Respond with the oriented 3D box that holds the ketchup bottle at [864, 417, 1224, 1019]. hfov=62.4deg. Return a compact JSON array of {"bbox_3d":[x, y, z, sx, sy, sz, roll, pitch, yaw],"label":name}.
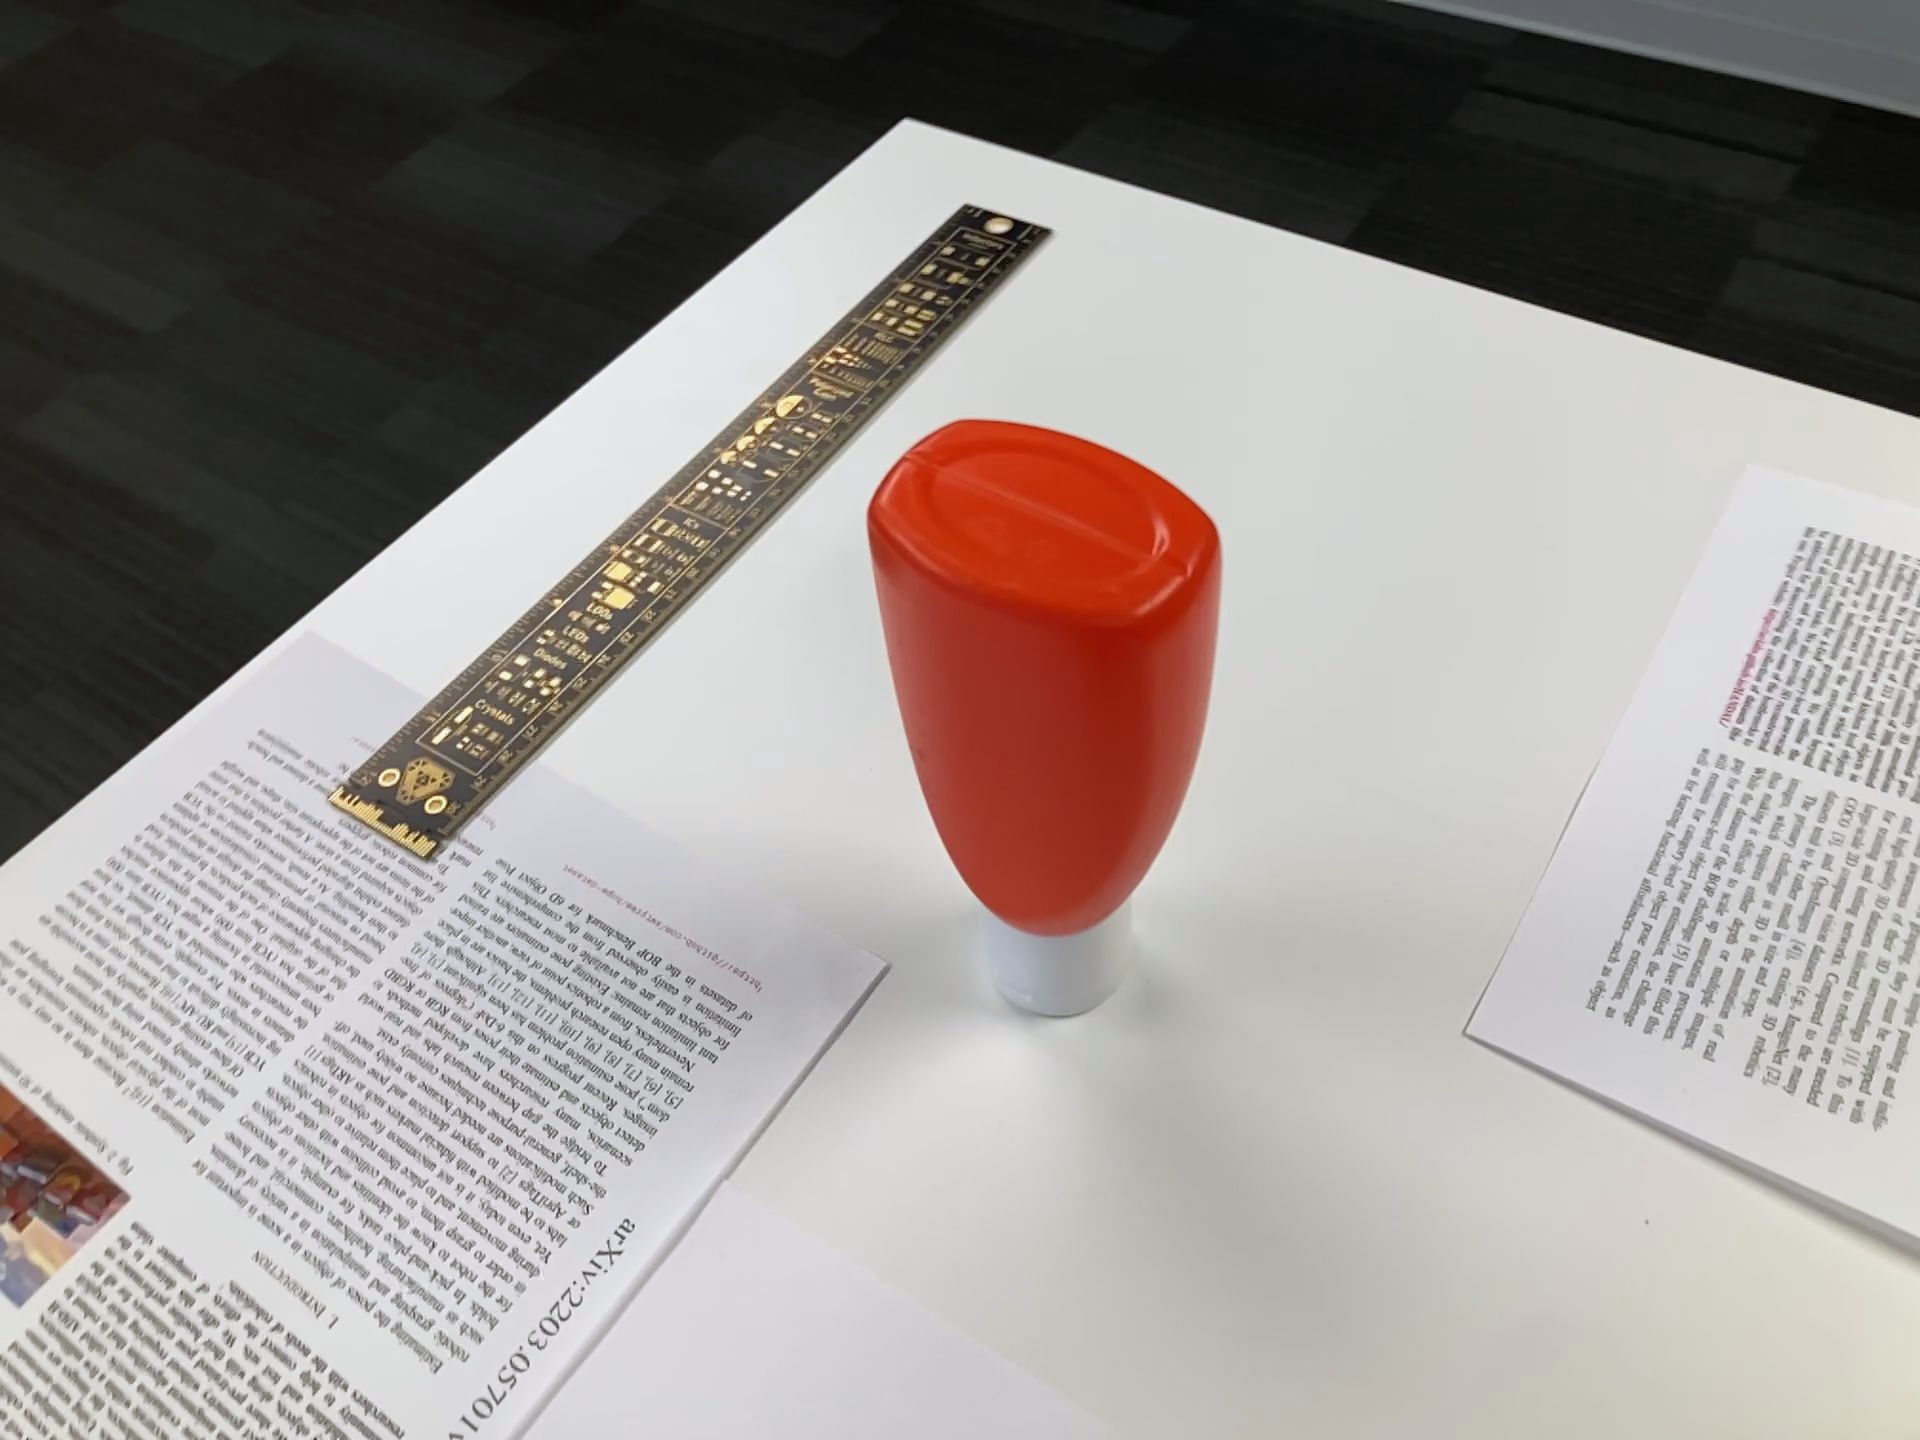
[{"bbox_3d":[0.018,0.011,0.325,0.065,0.149,0.043,27,58,24],"label":"ketchup bottle"}]
